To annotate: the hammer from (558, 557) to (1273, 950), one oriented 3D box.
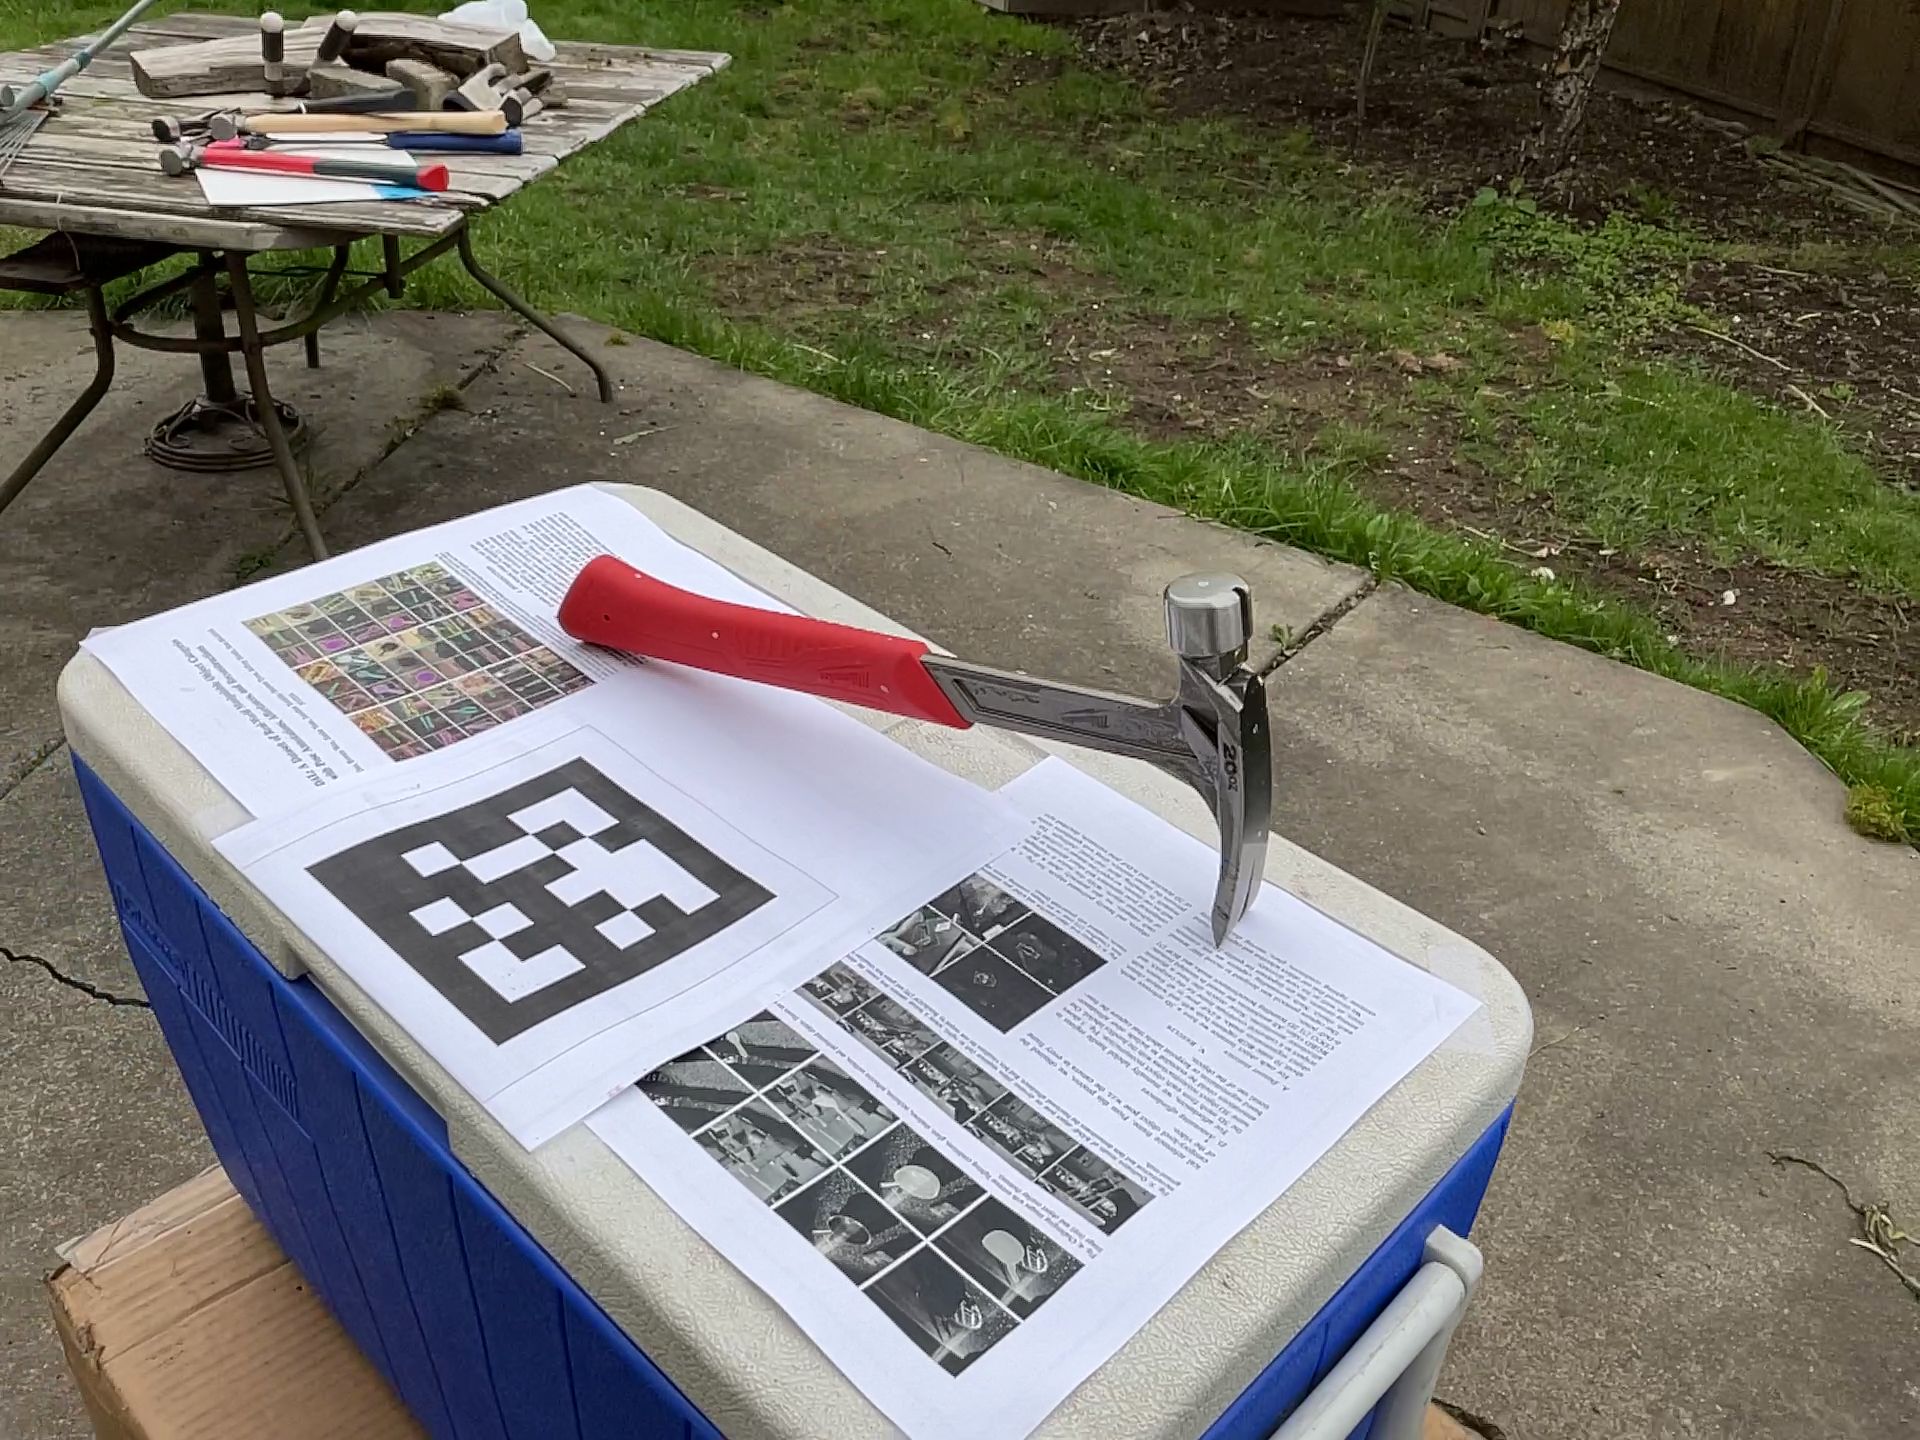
[{"bbox_3d":[-0.036,-0.012,0.692,0.359,0.149,0.037,12,33,33],"label":"hammer"}]
